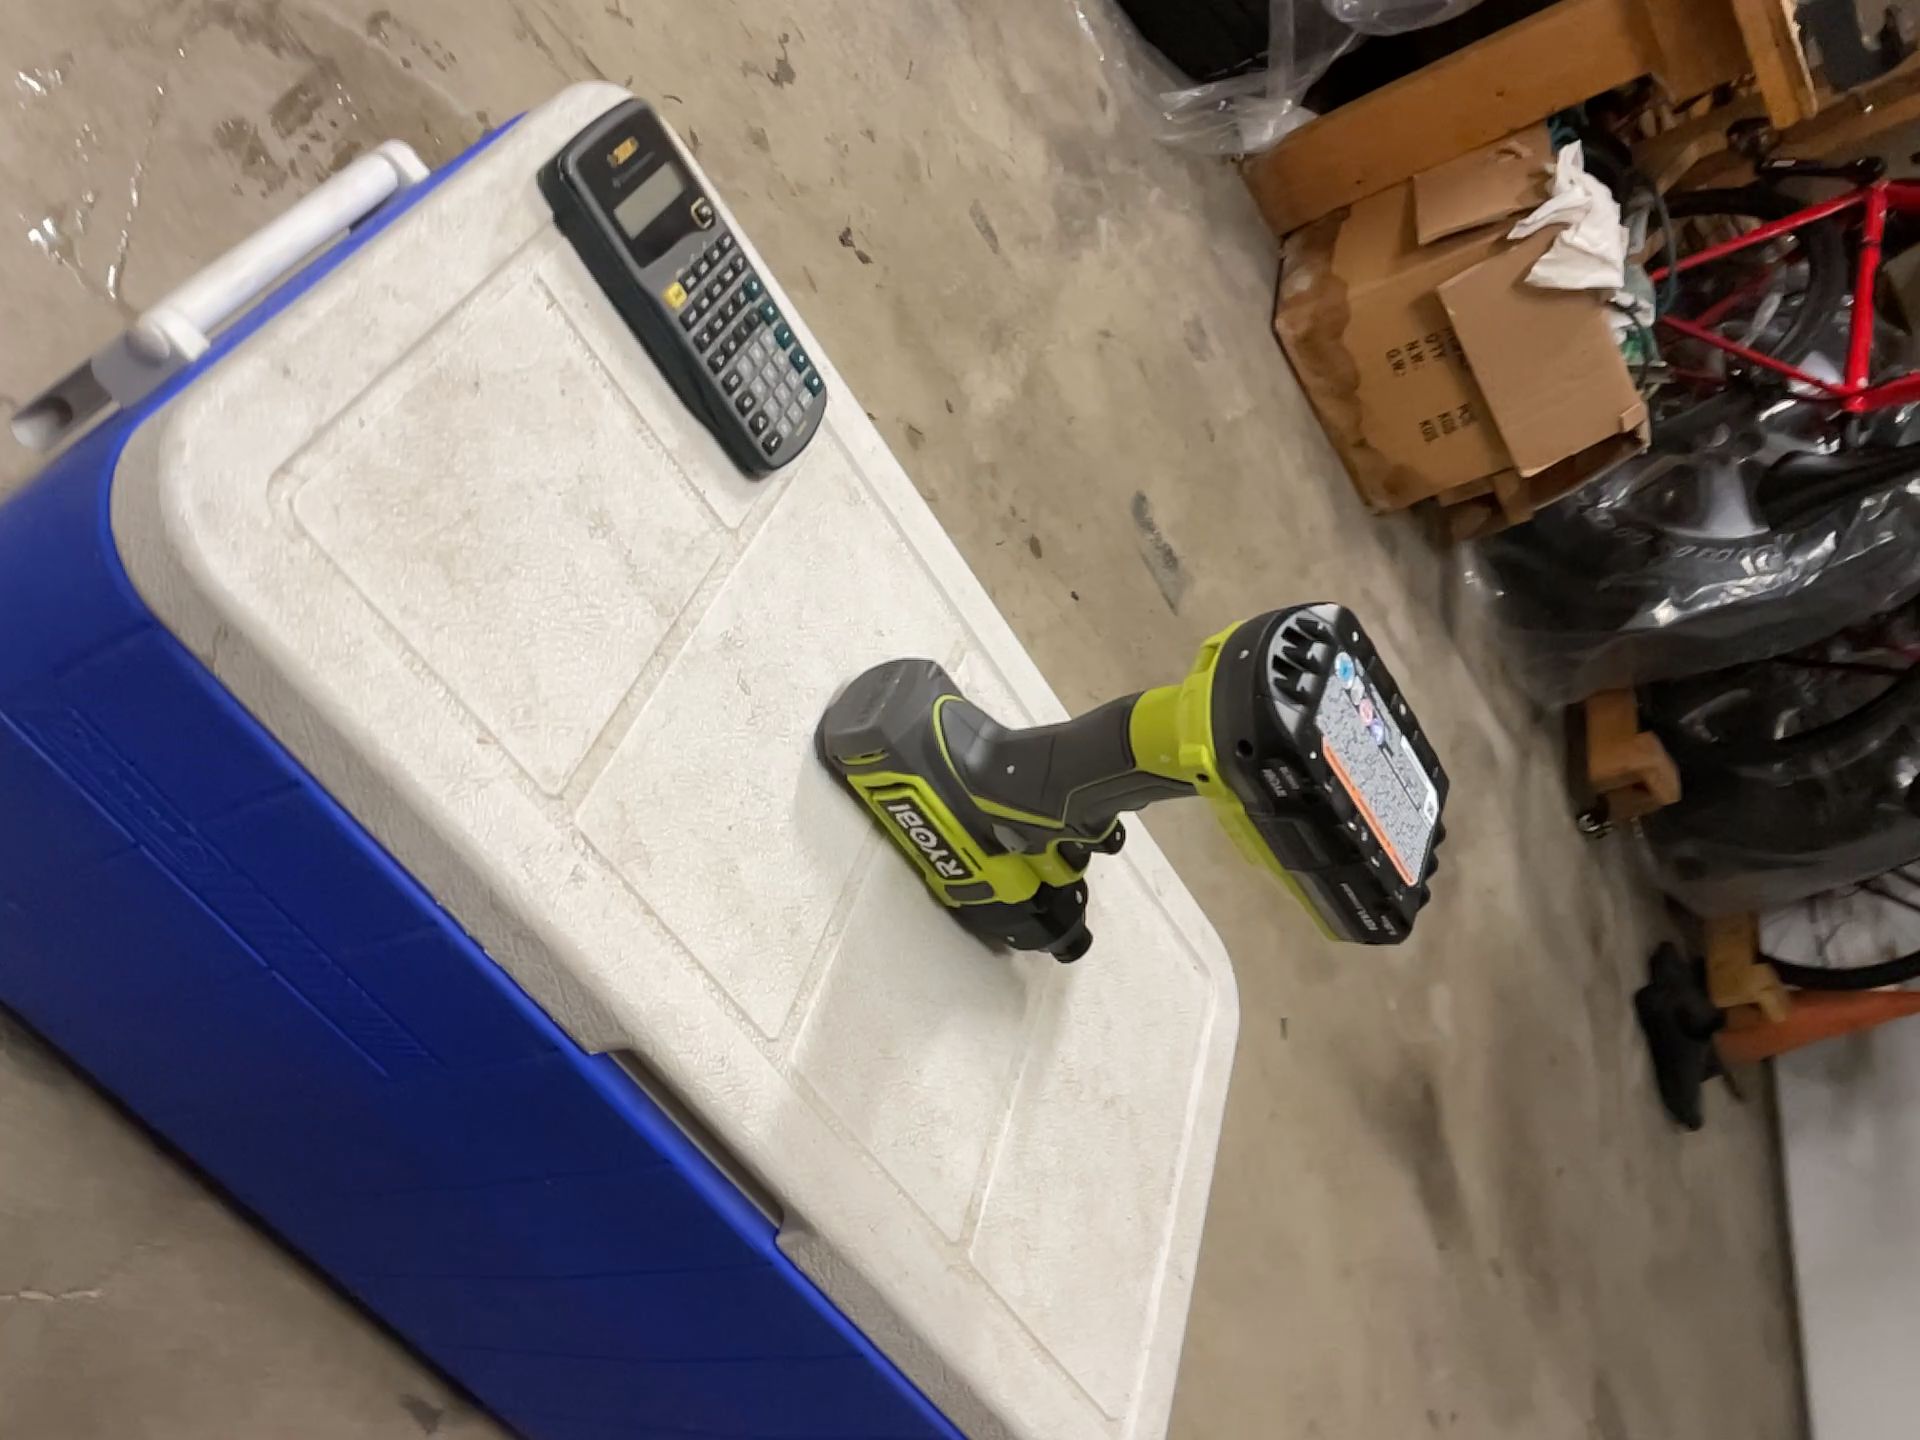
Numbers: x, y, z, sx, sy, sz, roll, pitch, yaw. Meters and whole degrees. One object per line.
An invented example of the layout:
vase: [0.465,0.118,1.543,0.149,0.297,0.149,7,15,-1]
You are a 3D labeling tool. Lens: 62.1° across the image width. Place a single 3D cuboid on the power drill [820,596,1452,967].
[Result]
power drill: [0.072,0.036,0.646,0.171,0.223,0.080,53,47,-29]
